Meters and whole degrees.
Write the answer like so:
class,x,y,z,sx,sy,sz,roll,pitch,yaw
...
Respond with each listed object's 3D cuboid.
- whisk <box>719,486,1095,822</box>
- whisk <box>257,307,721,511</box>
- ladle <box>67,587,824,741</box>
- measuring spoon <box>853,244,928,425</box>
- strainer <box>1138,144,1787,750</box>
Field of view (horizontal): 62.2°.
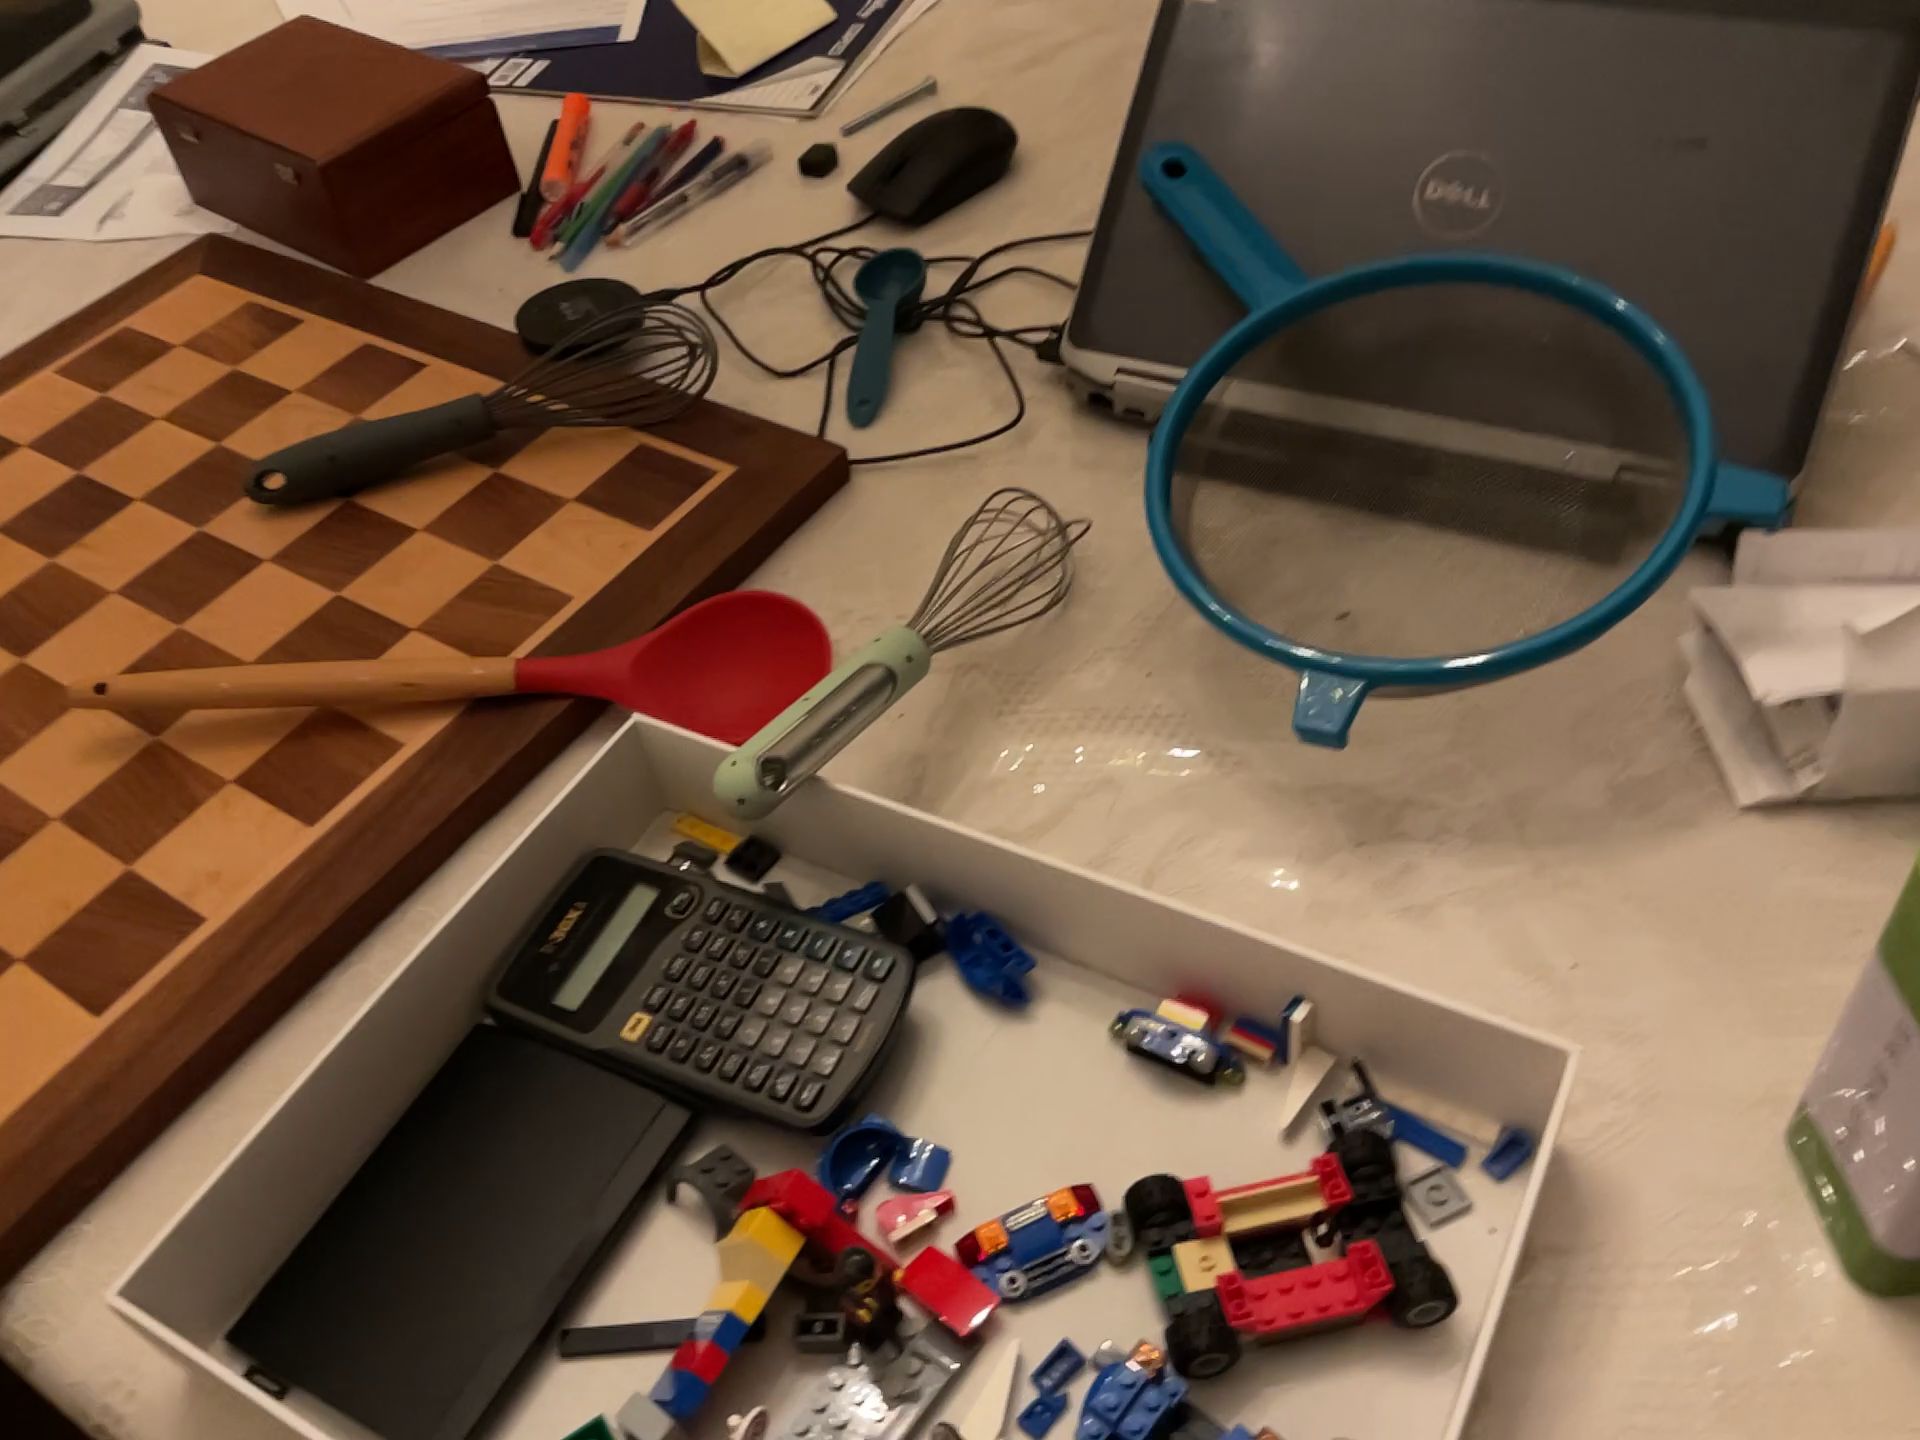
class,x,y,z,sx,sy,sz,roll,pitch,yaw
whisk,-0.015,-0.031,0.630,0.059,0.057,0.246,-12,22,40
whisk,-0.231,-0.149,0.788,0.239,0.055,0.055,-20,33,-5
ladle,-0.213,-0.016,0.665,0.315,0.031,0.069,-3,68,-1
measuring spoon,-0.040,-0.201,0.847,0.042,0.021,0.129,-4,58,16
strainer,0.163,-0.128,0.683,0.211,0.095,0.341,-27,52,1
